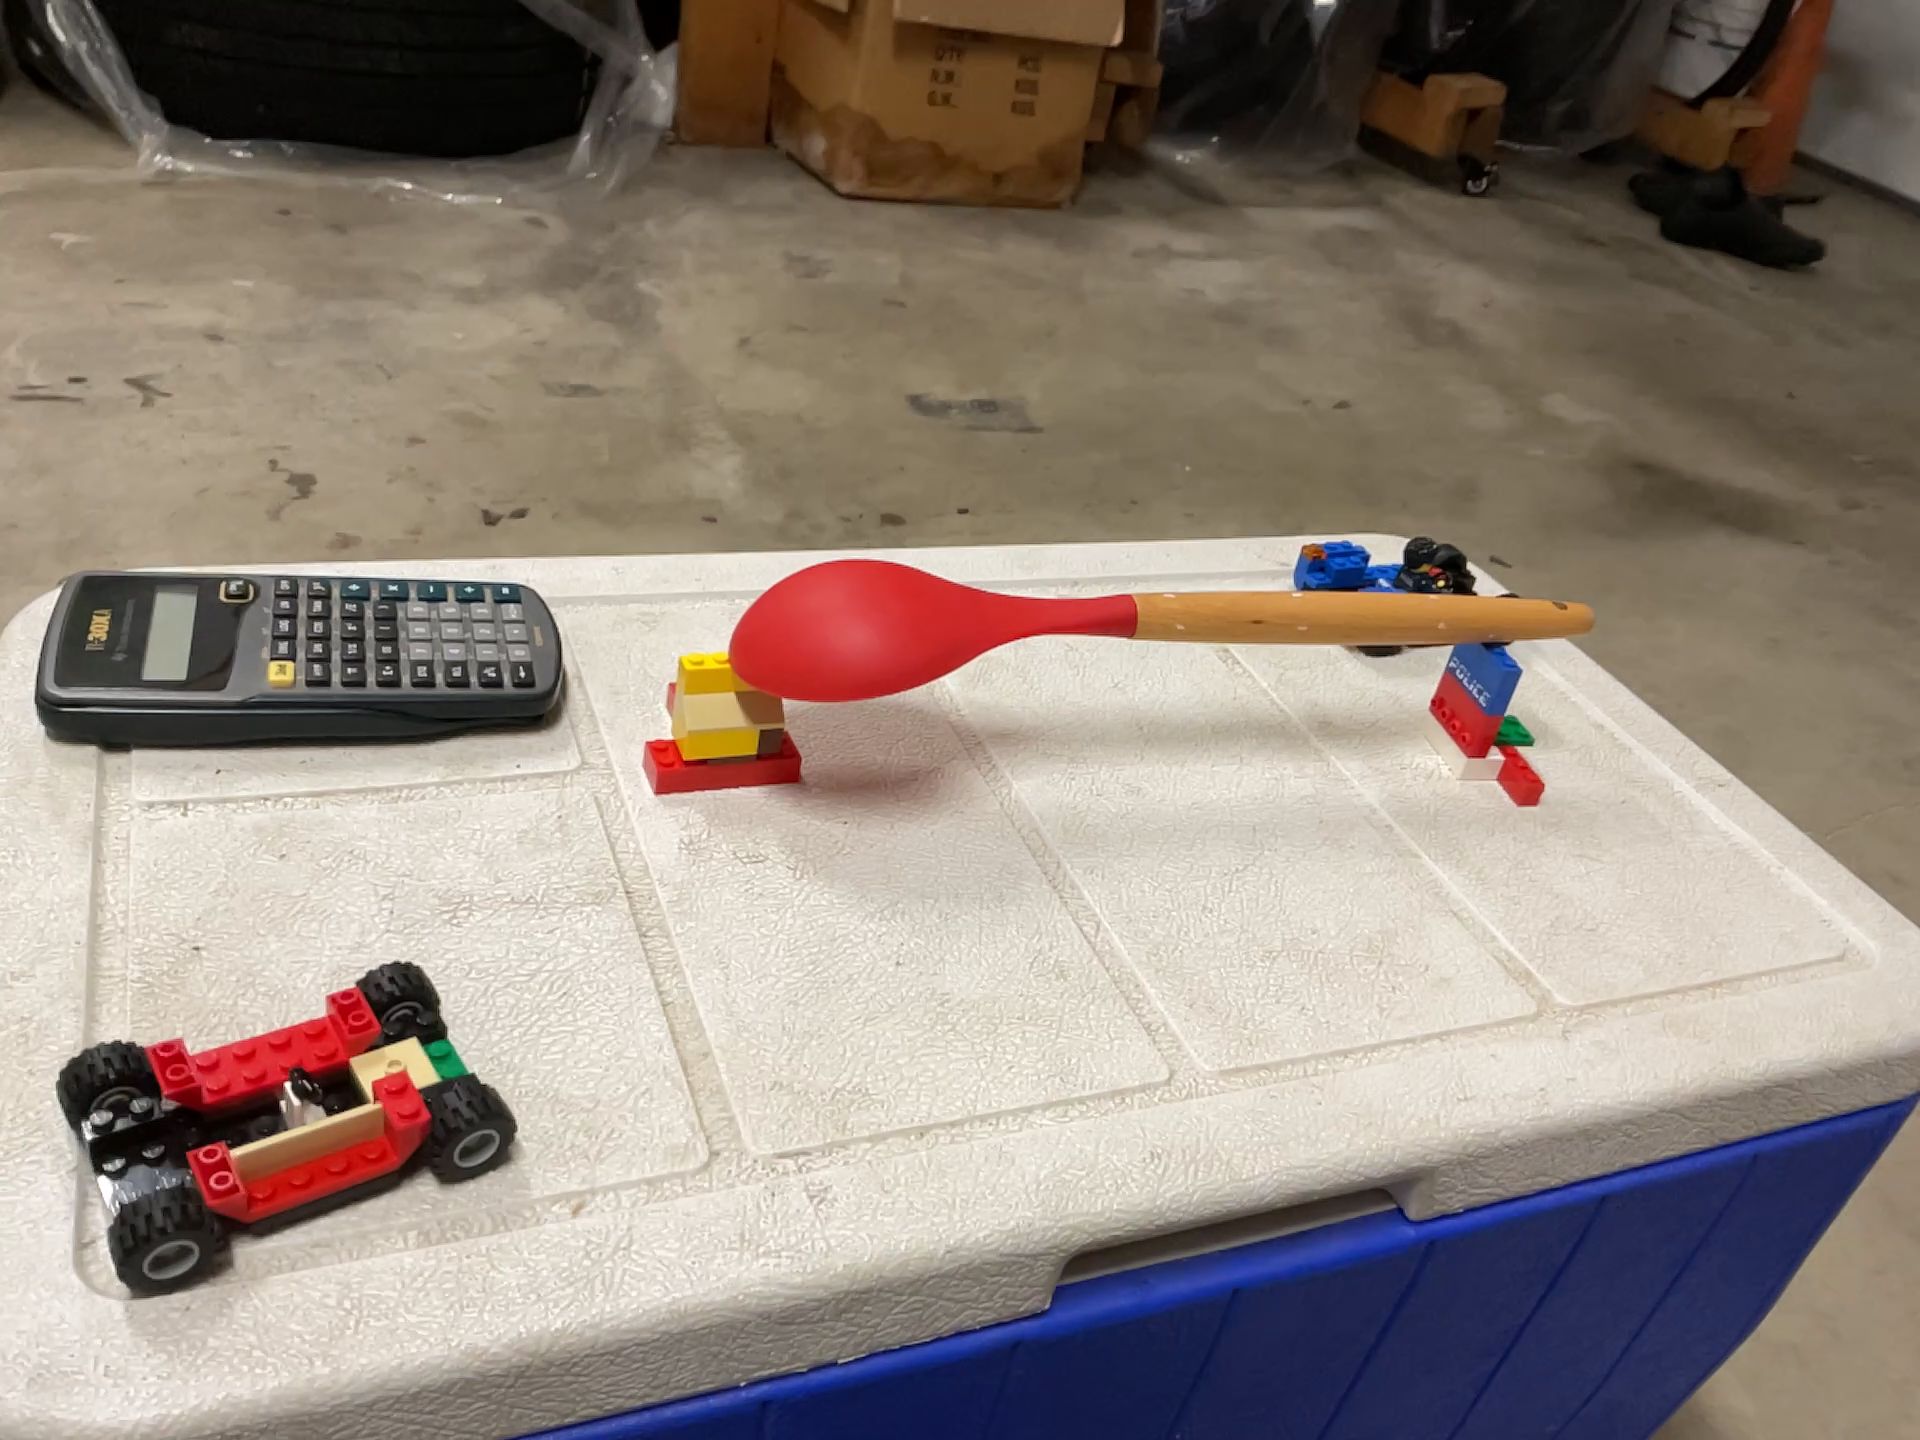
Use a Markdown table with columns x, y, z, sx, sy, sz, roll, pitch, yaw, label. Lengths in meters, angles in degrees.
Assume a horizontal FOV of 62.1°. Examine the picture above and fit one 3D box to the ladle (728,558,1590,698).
| x | y | z | sx | sy | sz | roll | pitch | yaw | label |
| --- | --- | --- | --- | --- | --- | --- | --- | --- | --- |
| 0.080 | -0.033 | 0.536 | 0.315 | 0.031 | 0.069 | -1 | 34 | -19 | ladle |
